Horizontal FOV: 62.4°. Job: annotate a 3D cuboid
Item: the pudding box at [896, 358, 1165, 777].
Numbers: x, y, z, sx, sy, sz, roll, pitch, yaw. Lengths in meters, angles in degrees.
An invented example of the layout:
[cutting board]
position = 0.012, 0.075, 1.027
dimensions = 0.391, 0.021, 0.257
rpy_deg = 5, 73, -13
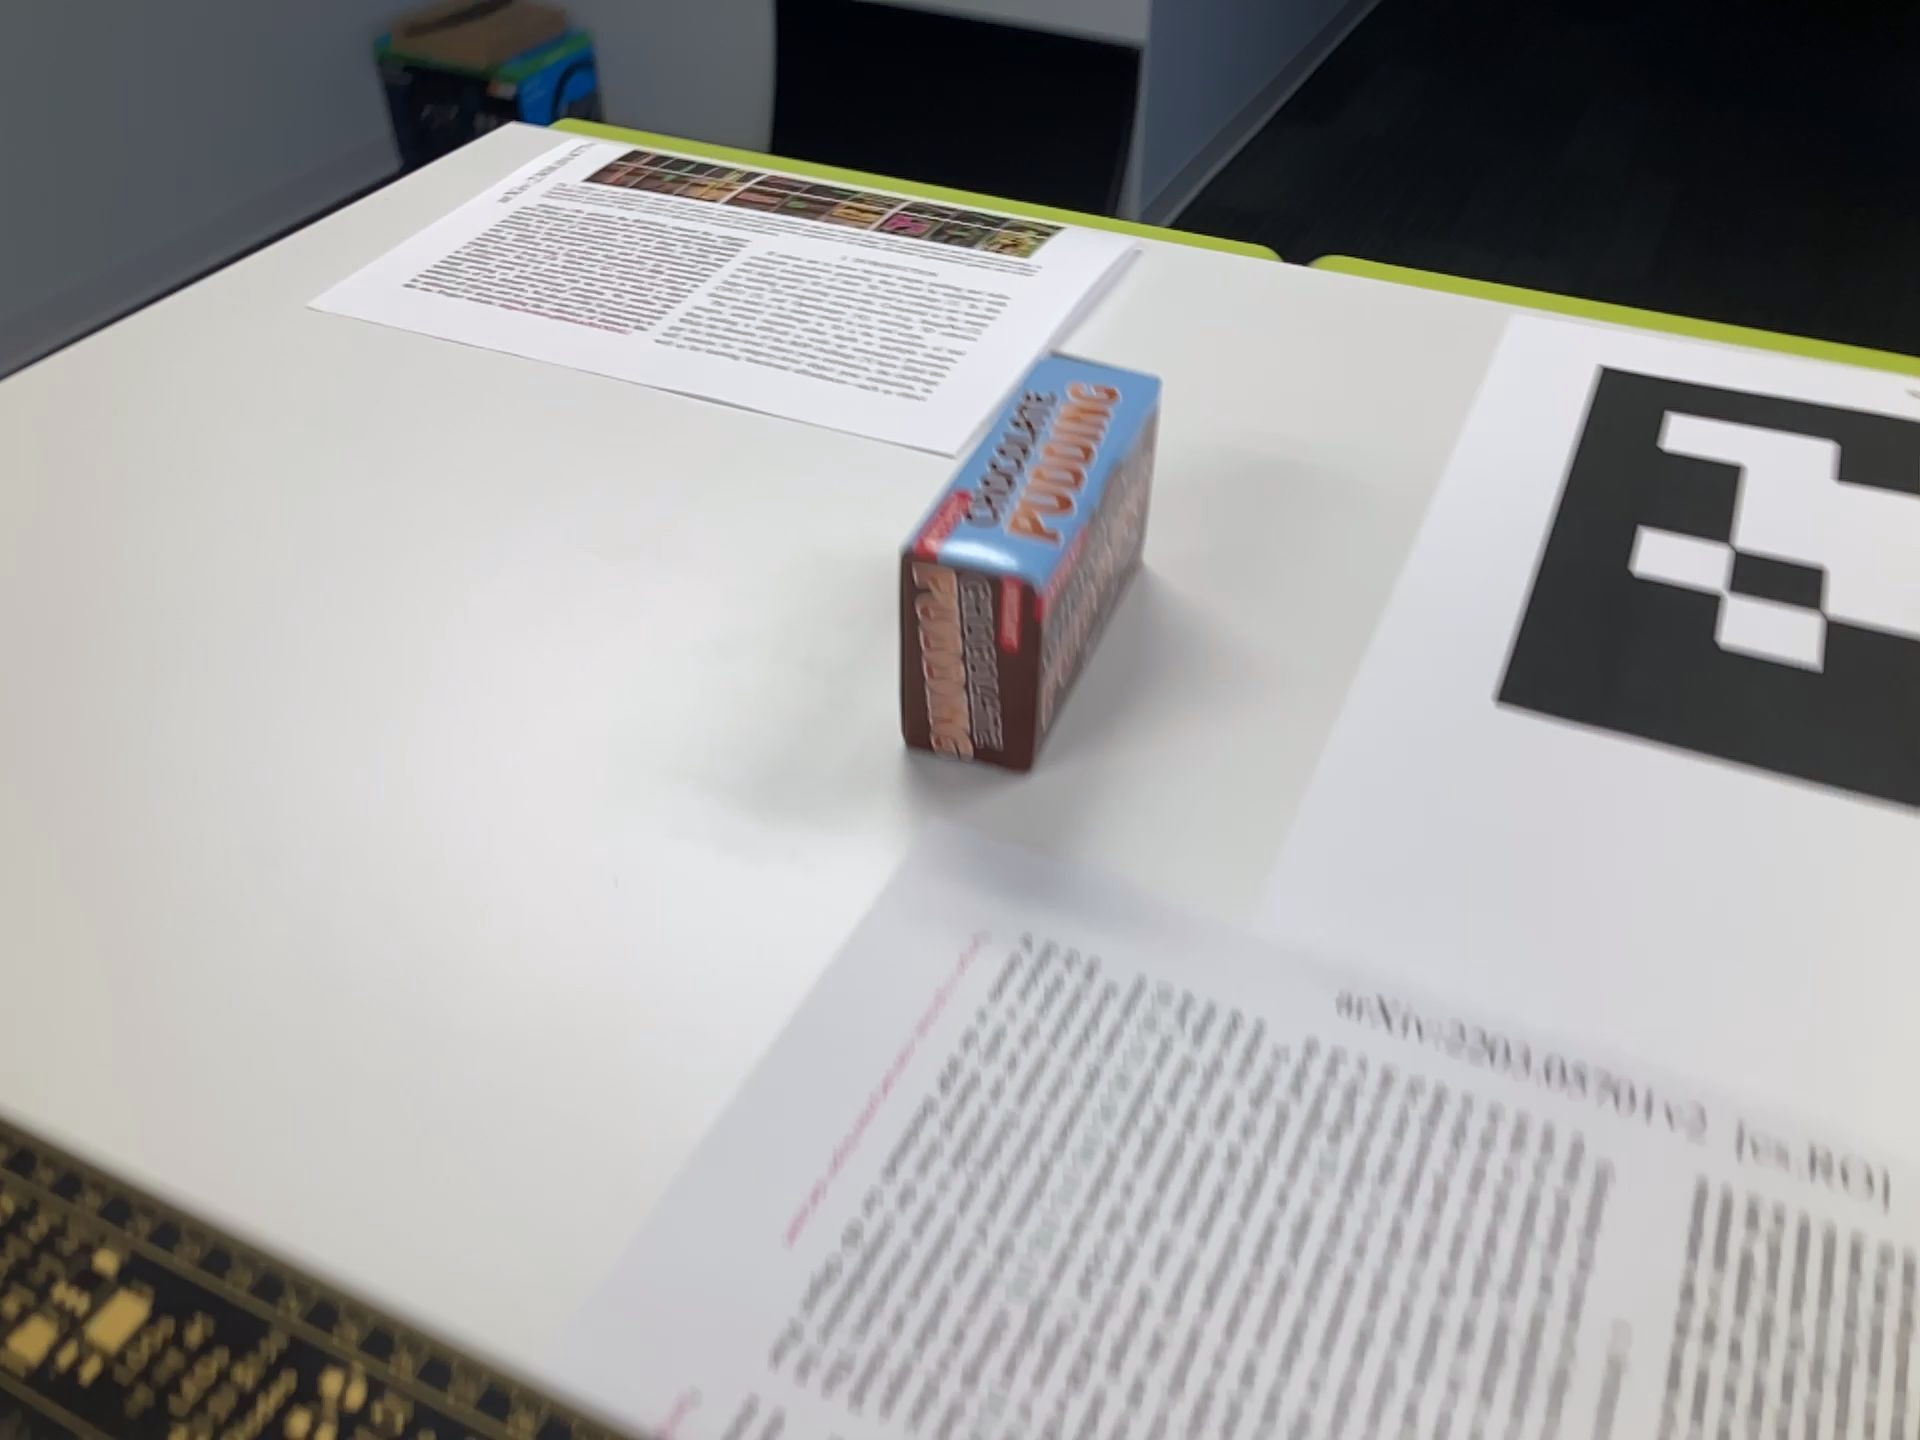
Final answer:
[pudding box]
position = 0.015, -0.034, 0.329
dimensions = 0.030, 0.049, 0.083
rpy_deg = 15, 42, 15
